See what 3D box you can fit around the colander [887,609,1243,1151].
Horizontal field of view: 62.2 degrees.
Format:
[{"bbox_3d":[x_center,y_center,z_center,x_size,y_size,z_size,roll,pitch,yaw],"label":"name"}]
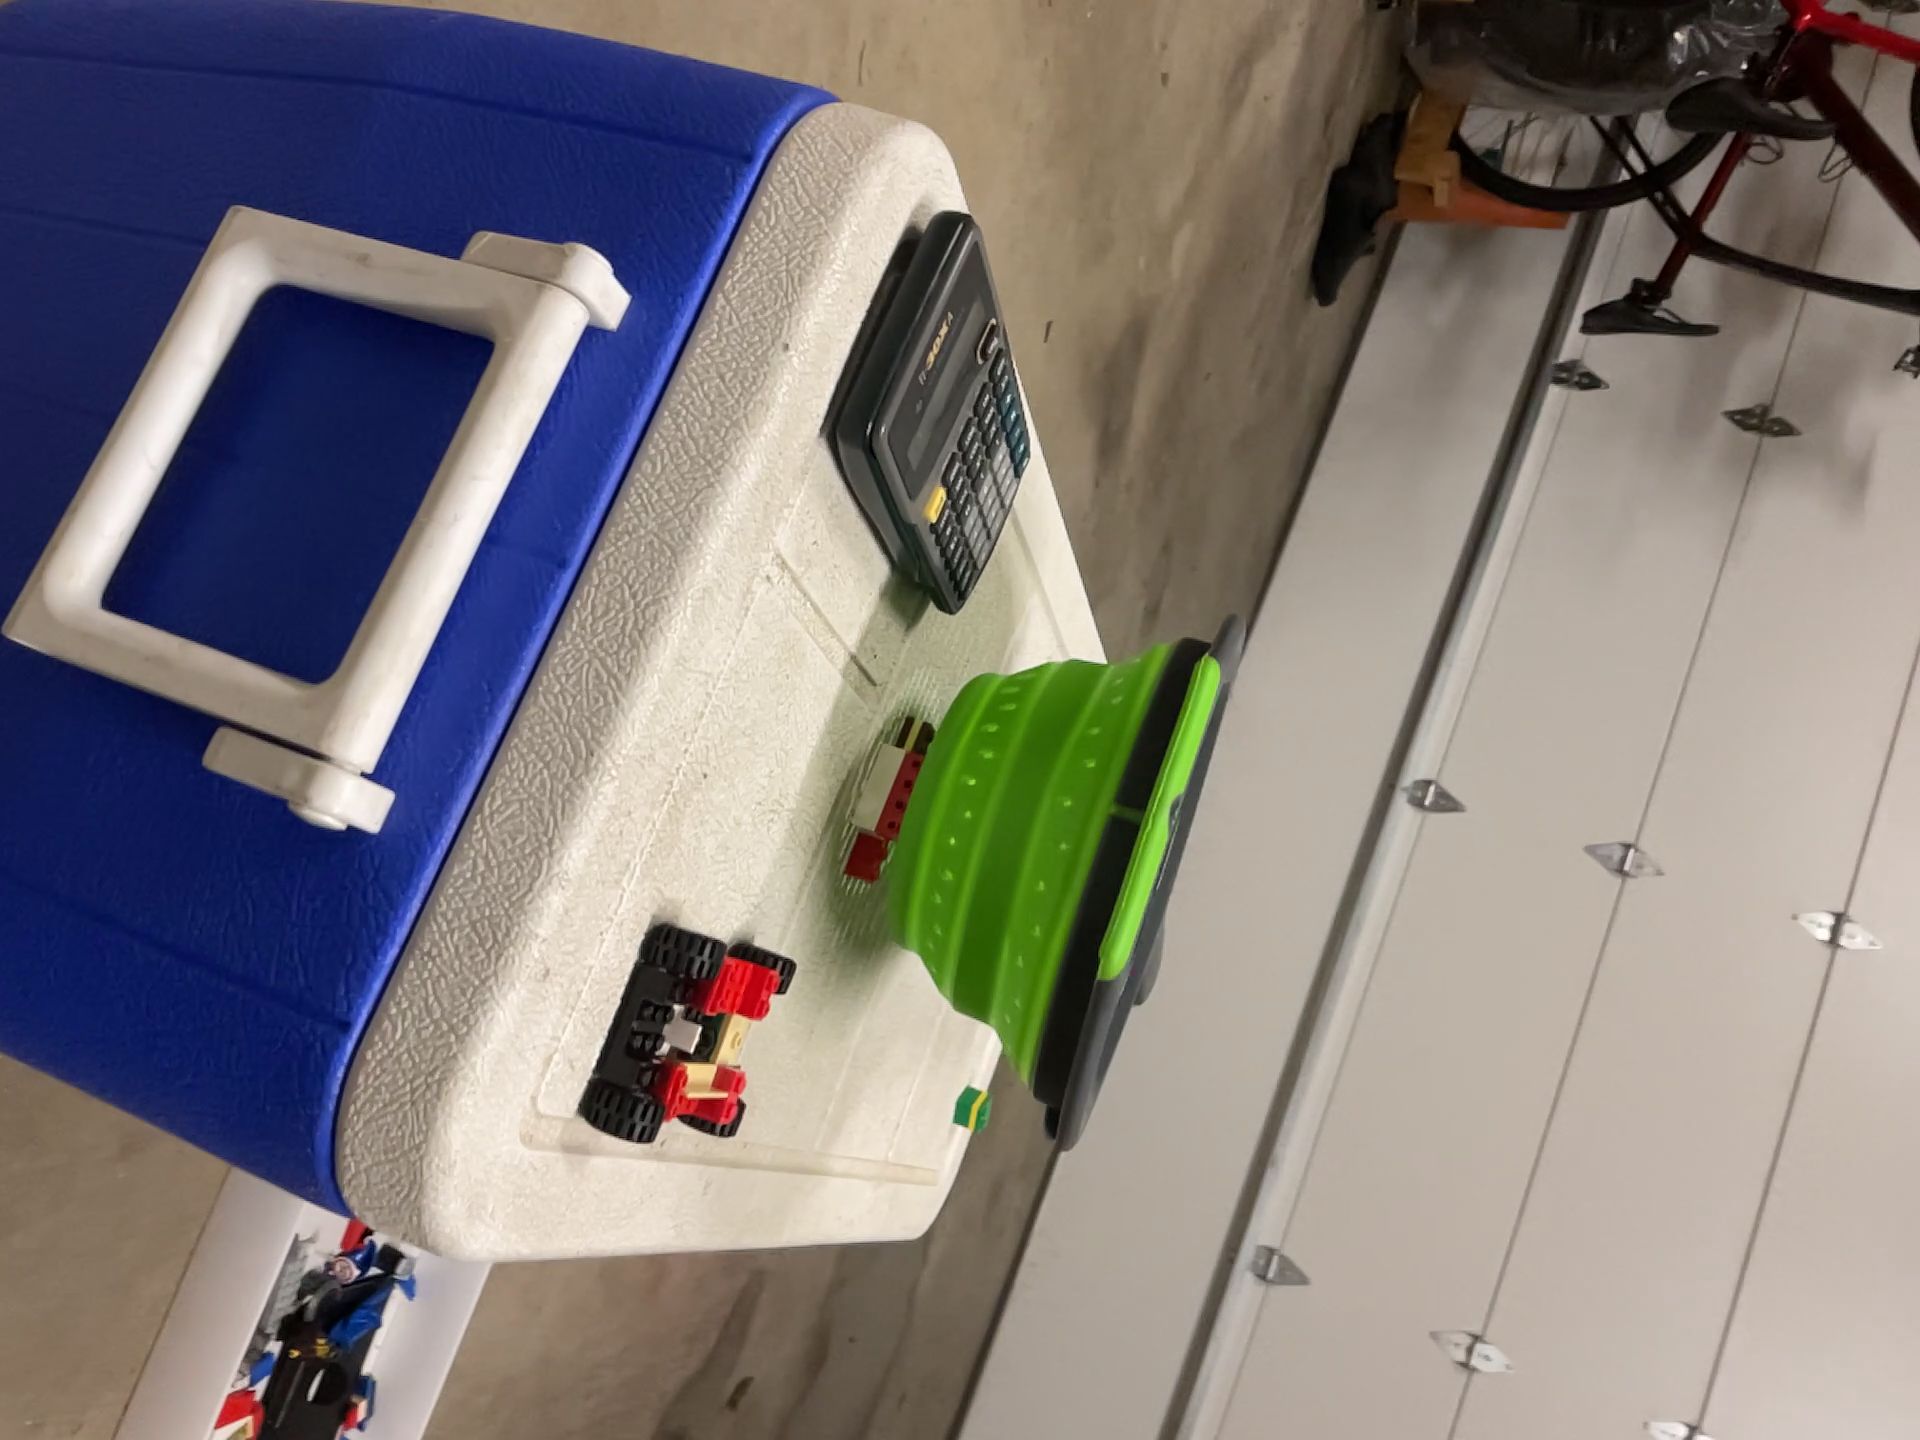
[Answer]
[{"bbox_3d":[0.040,0.071,0.671,0.396,0.094,0.204,72,36,-72],"label":"colander"}]
